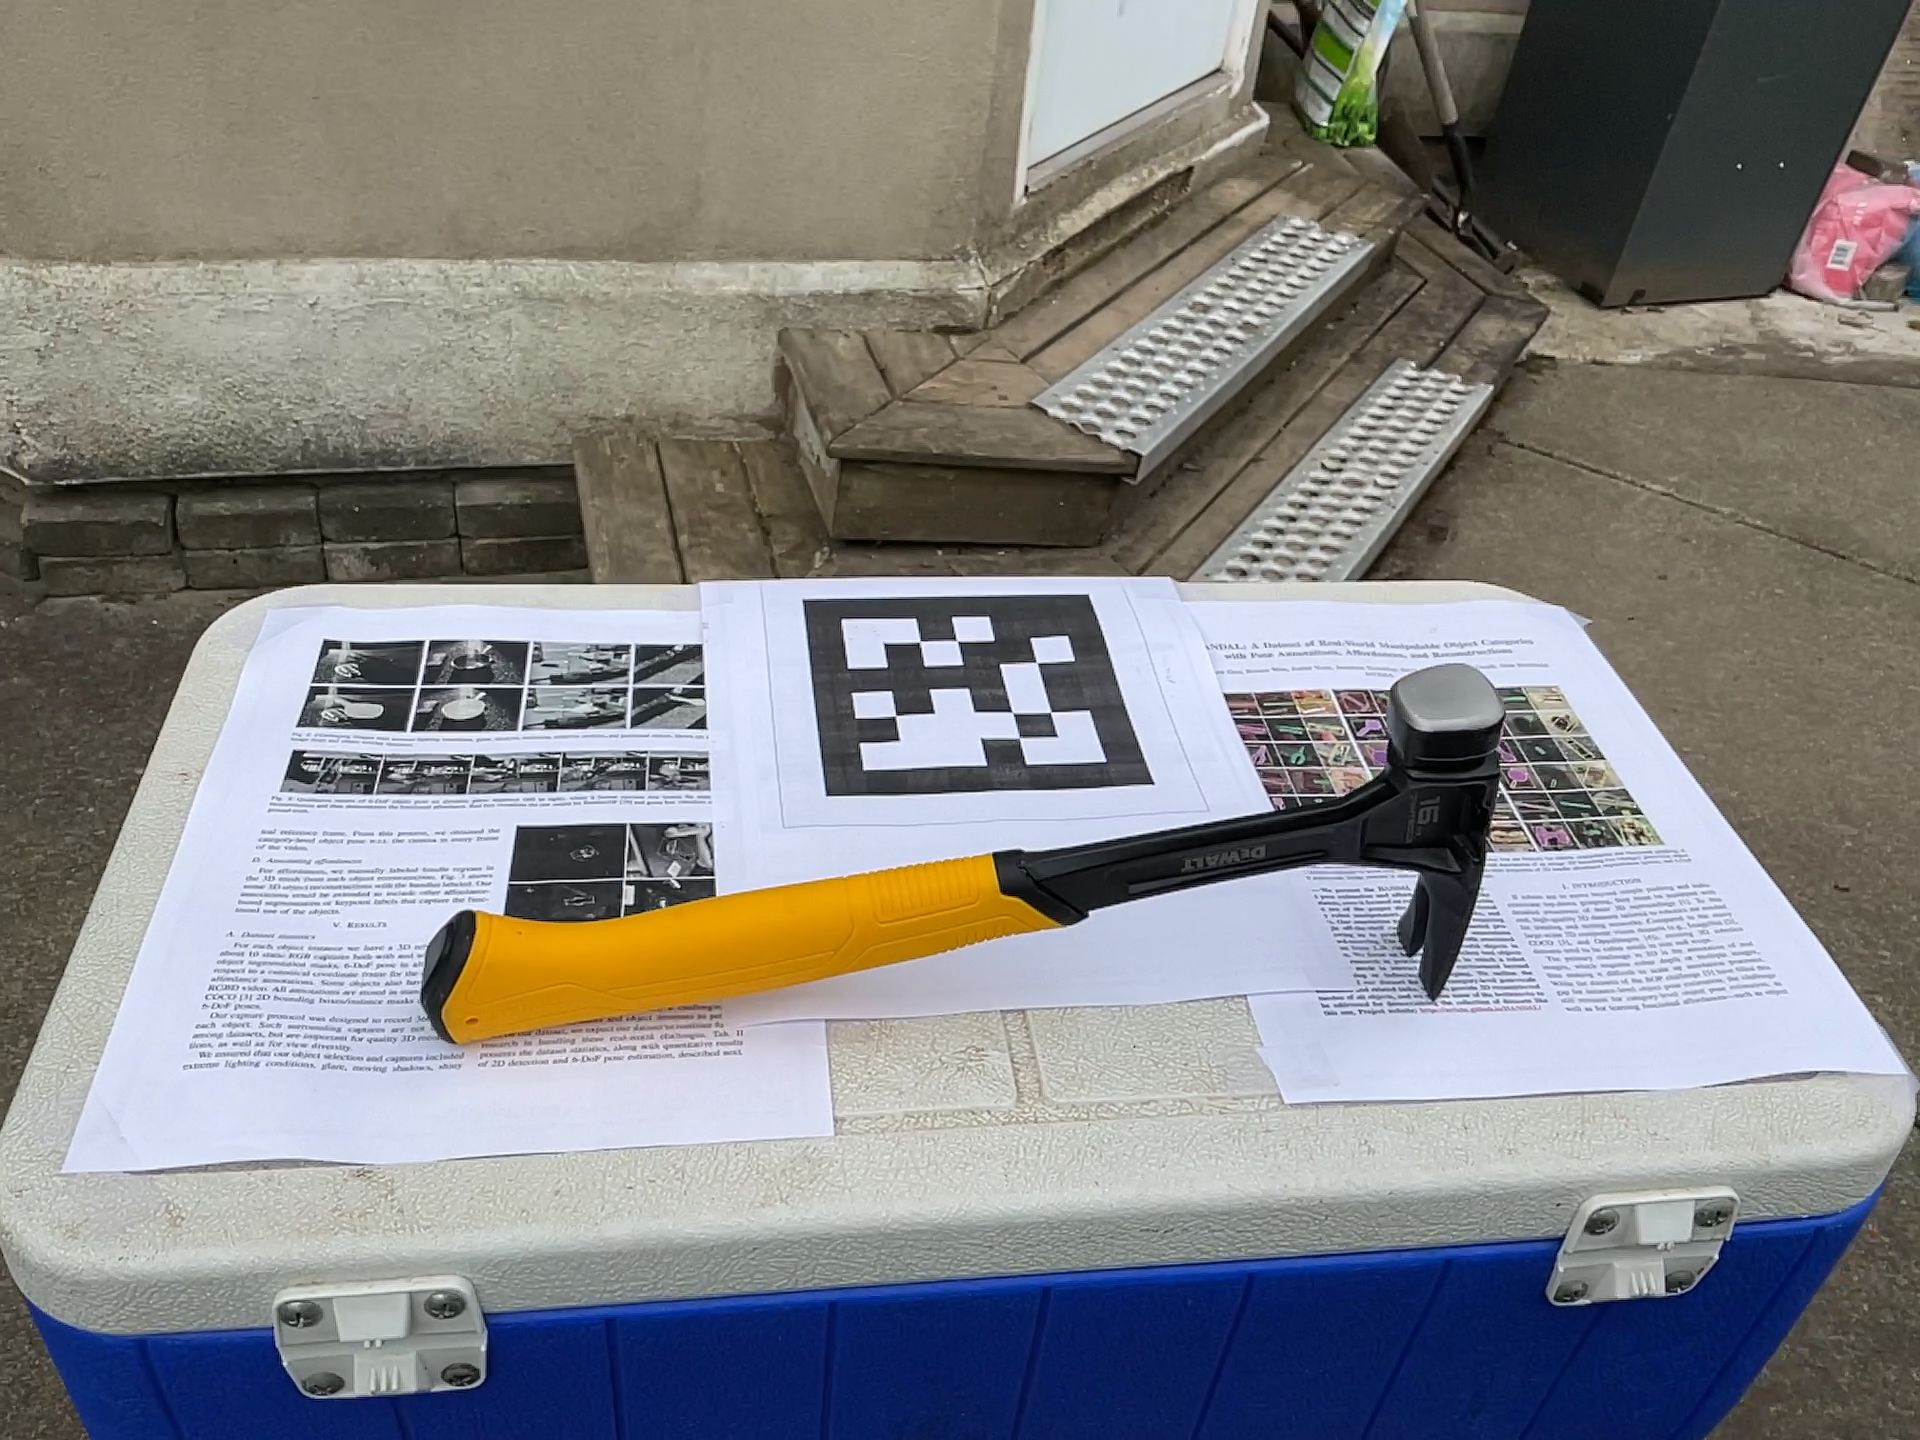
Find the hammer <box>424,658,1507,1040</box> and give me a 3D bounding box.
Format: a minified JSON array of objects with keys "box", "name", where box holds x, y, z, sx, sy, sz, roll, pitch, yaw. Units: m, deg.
[{"box":[0.003,0.062,0.510,0.336,0.127,0.034,-9,40,-3],"name":"hammer"}]
